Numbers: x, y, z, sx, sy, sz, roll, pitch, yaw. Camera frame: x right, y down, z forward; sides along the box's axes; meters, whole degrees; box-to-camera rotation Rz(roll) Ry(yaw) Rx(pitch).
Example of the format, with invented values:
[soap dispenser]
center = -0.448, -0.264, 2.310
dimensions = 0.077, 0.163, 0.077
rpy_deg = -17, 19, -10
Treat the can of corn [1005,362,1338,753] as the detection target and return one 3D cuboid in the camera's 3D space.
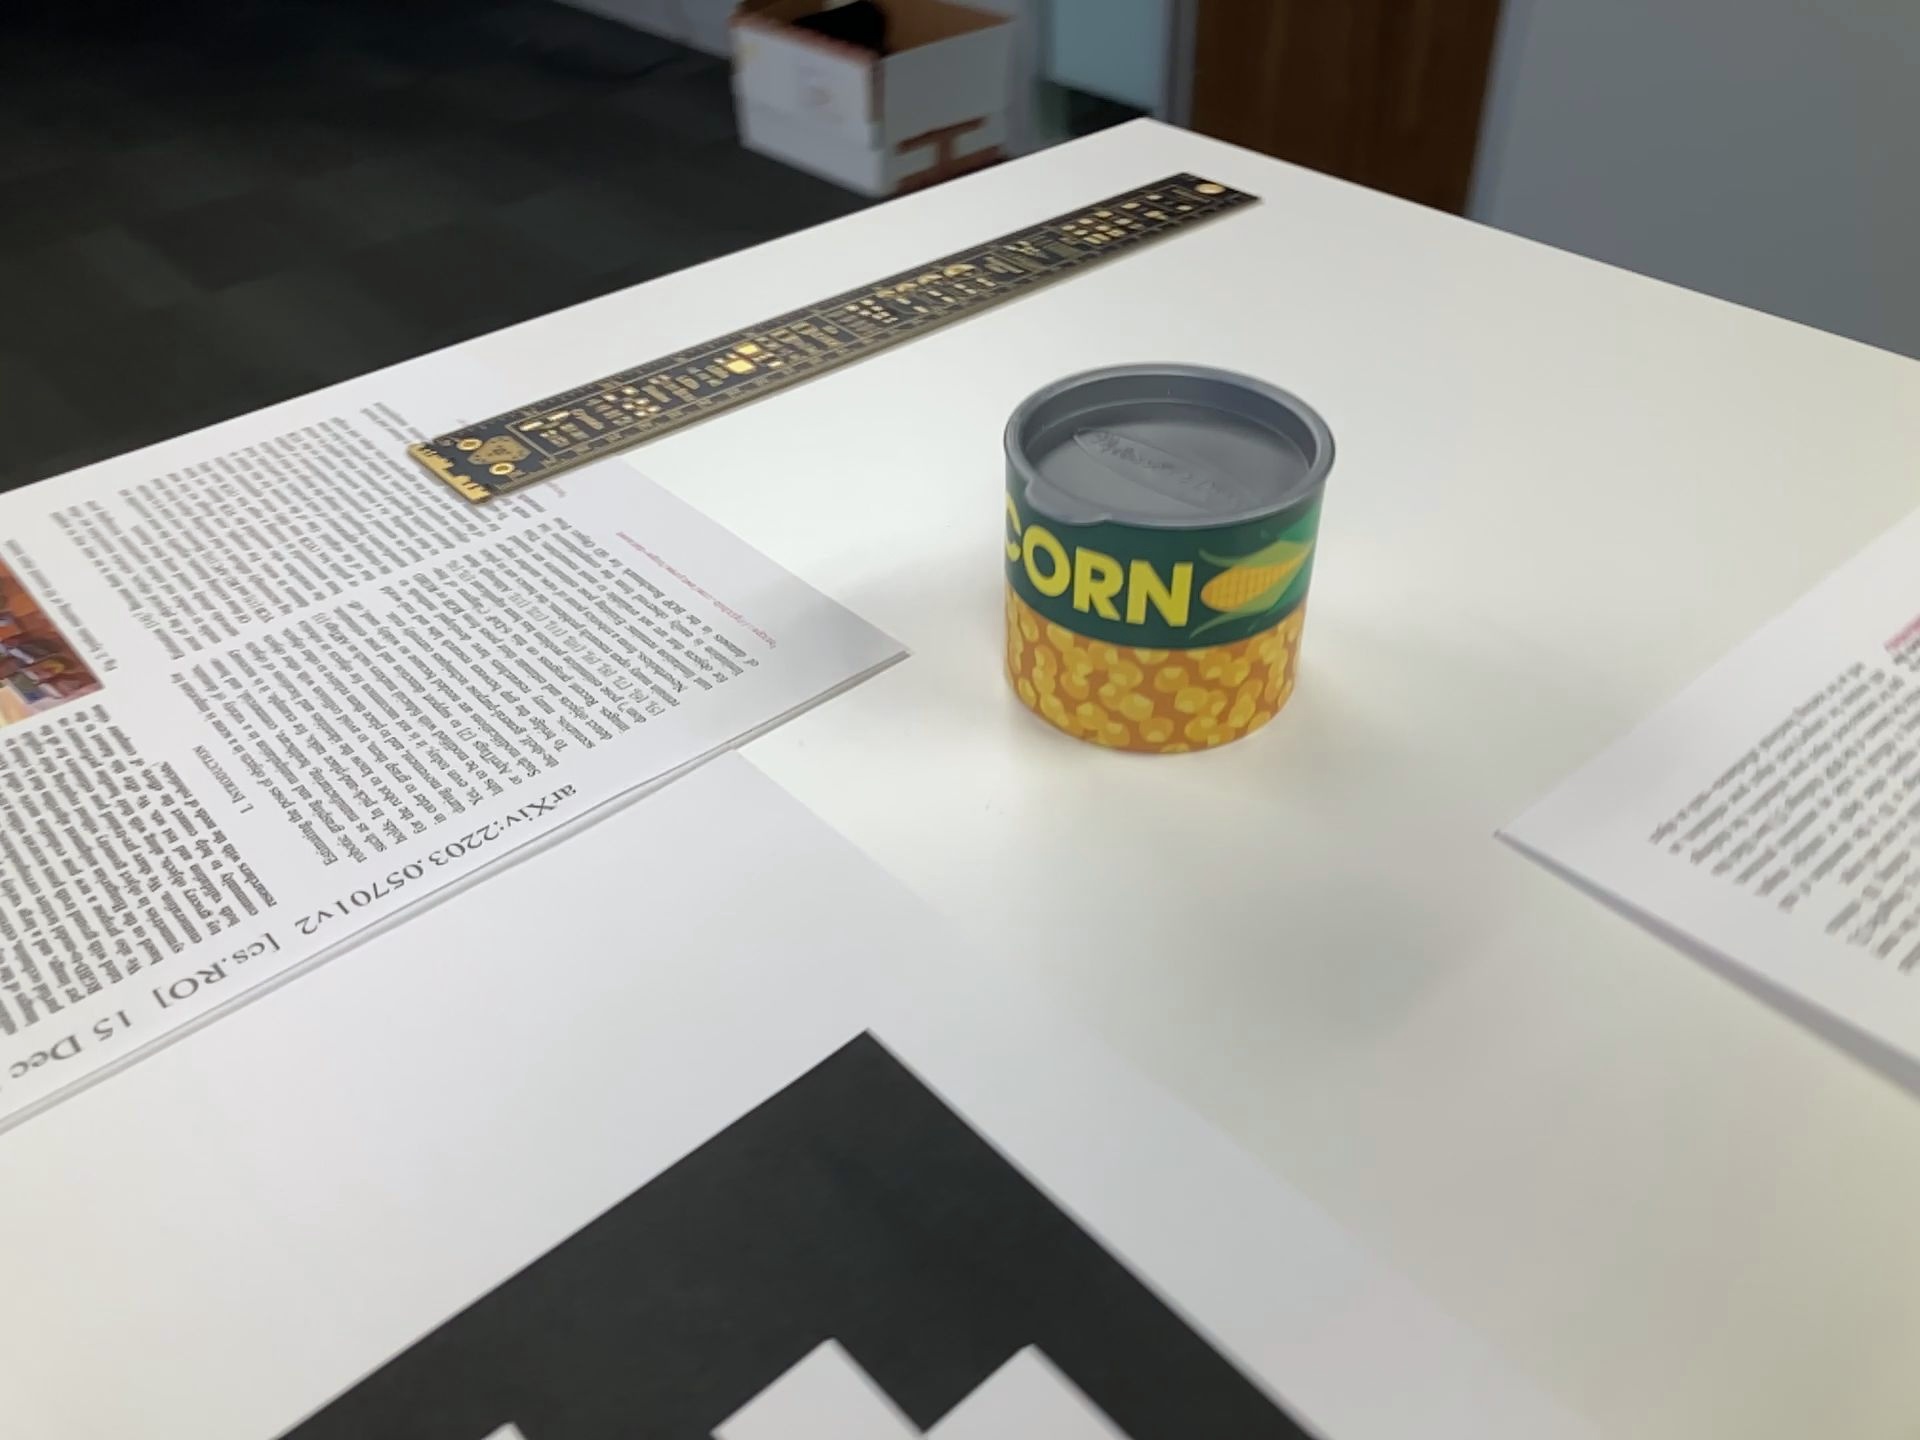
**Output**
[can of corn]
center = 0.041, -0.034, 0.336
dimensions = 0.071, 0.058, 0.071
rpy_deg = 0, 39, 0
